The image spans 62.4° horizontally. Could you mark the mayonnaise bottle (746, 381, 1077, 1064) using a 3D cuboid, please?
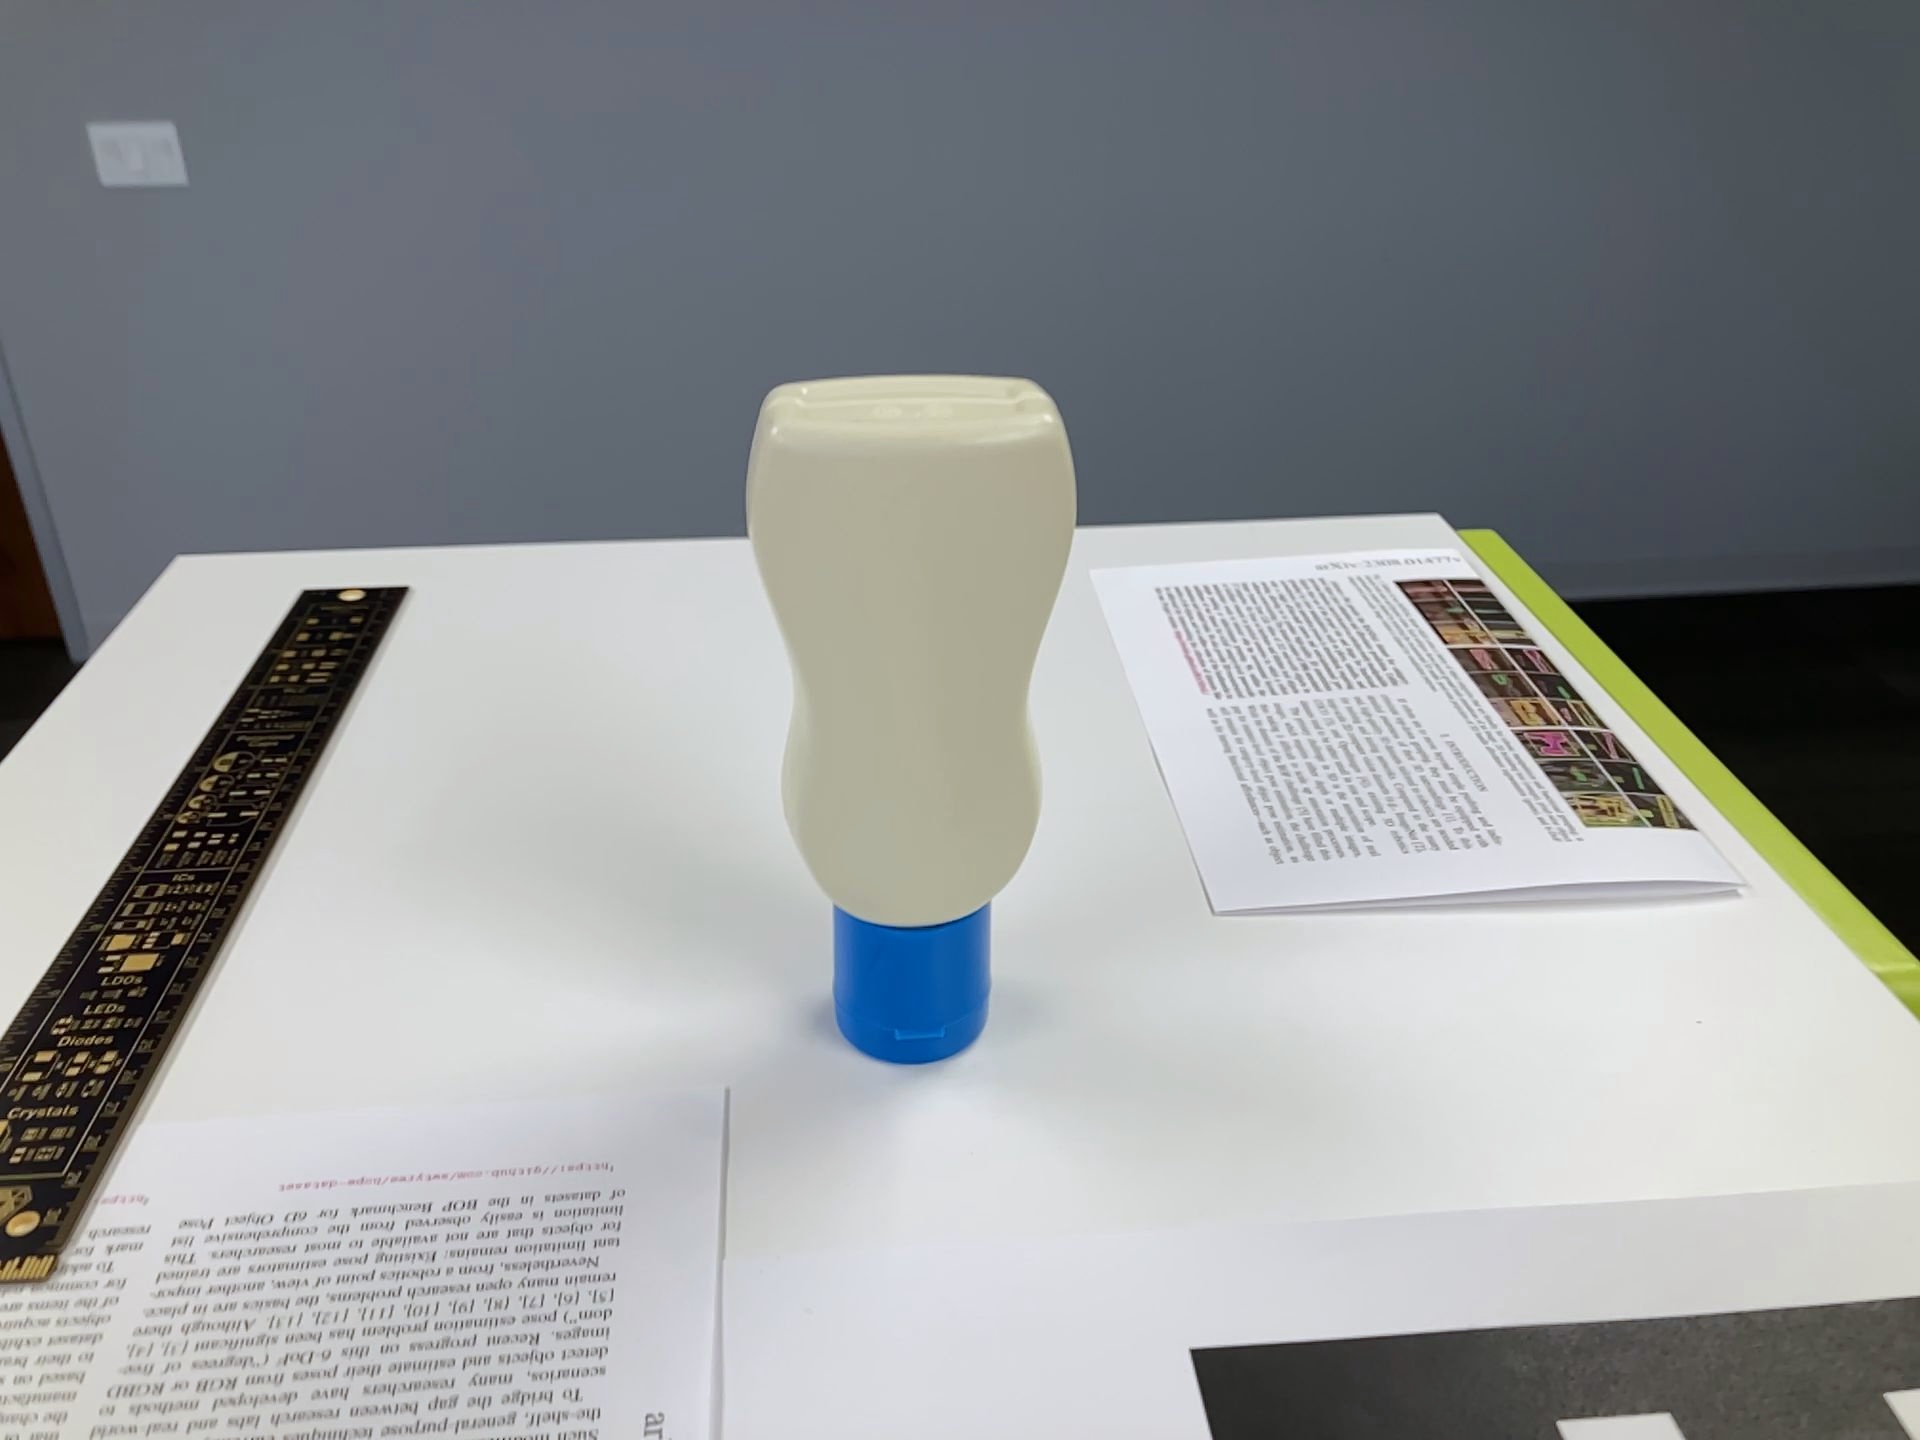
[{"bbox_3d":[-0.010,0.005,0.338,0.065,0.148,0.041,-2,29,-6],"label":"mayonnaise bottle"}]
